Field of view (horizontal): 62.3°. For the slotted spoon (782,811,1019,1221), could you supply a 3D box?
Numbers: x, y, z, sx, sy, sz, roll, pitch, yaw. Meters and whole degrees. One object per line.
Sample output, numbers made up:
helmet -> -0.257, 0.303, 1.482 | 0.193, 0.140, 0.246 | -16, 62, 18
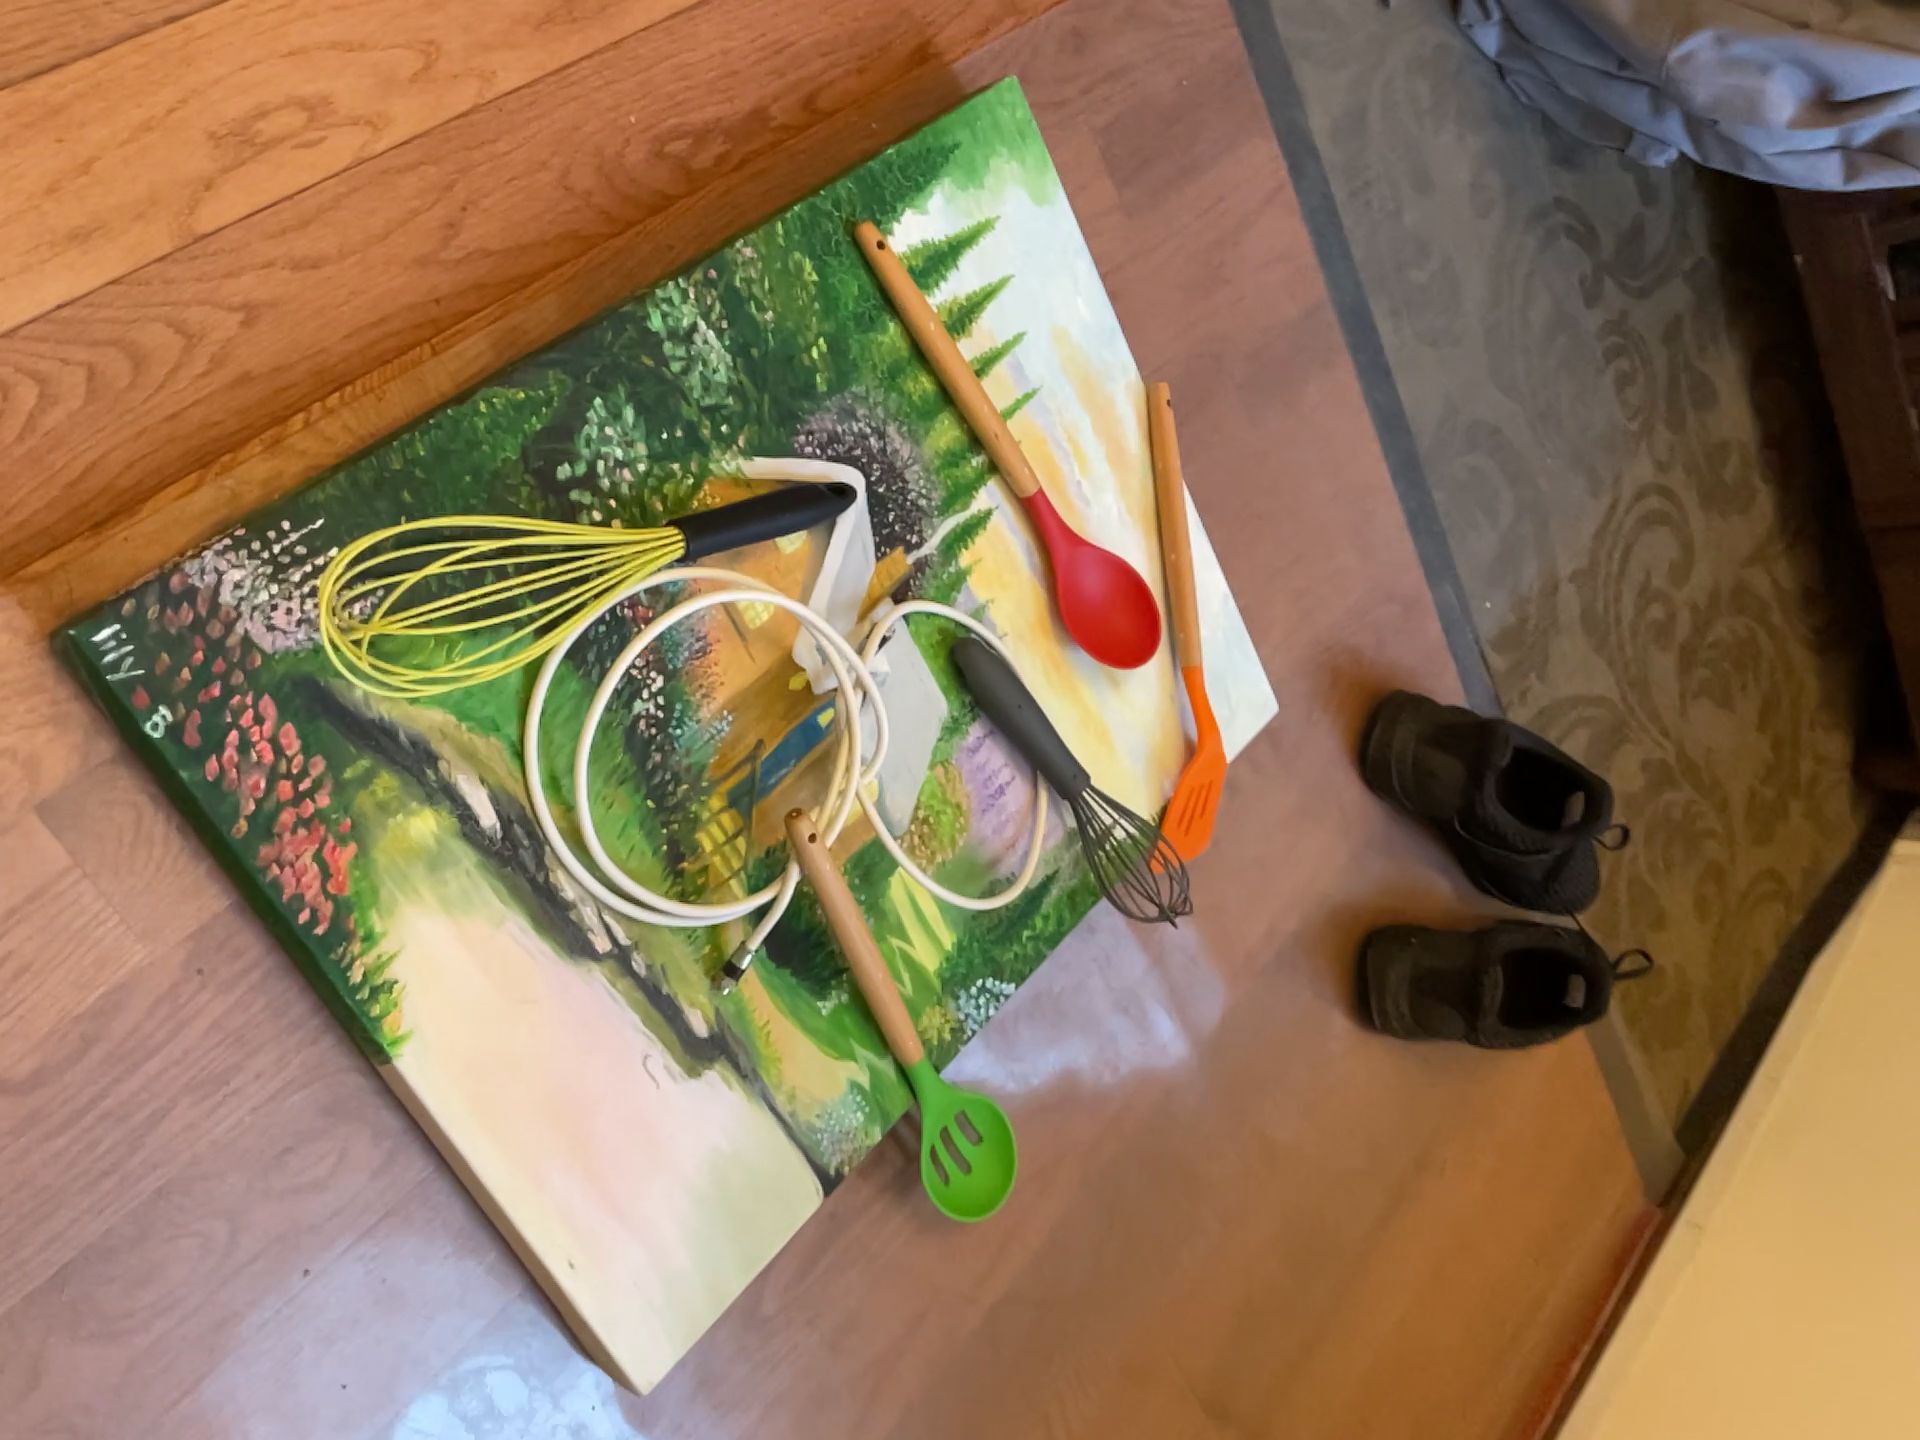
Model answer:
slotted spoon -> -0.034, 0.170, 0.887 | 0.070, 0.031, 0.313 | -44, 129, -30

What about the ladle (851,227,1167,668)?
ladle -> 0.029, -0.155, 0.943 | 0.069, 0.031, 0.315 | -51, 118, -28

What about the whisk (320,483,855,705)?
whisk -> -0.165, -0.078, 0.770 | 0.311, 0.067, 0.080 | -24, 111, -43

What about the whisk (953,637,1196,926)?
whisk -> 0.070, 0.041, 0.968 | 0.238, 0.055, 0.055 | 51, 50, -21

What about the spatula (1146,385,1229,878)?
spatula -> 0.142, -0.057, 1.051 | 0.081, 0.041, 0.322 | -14, 98, -50
